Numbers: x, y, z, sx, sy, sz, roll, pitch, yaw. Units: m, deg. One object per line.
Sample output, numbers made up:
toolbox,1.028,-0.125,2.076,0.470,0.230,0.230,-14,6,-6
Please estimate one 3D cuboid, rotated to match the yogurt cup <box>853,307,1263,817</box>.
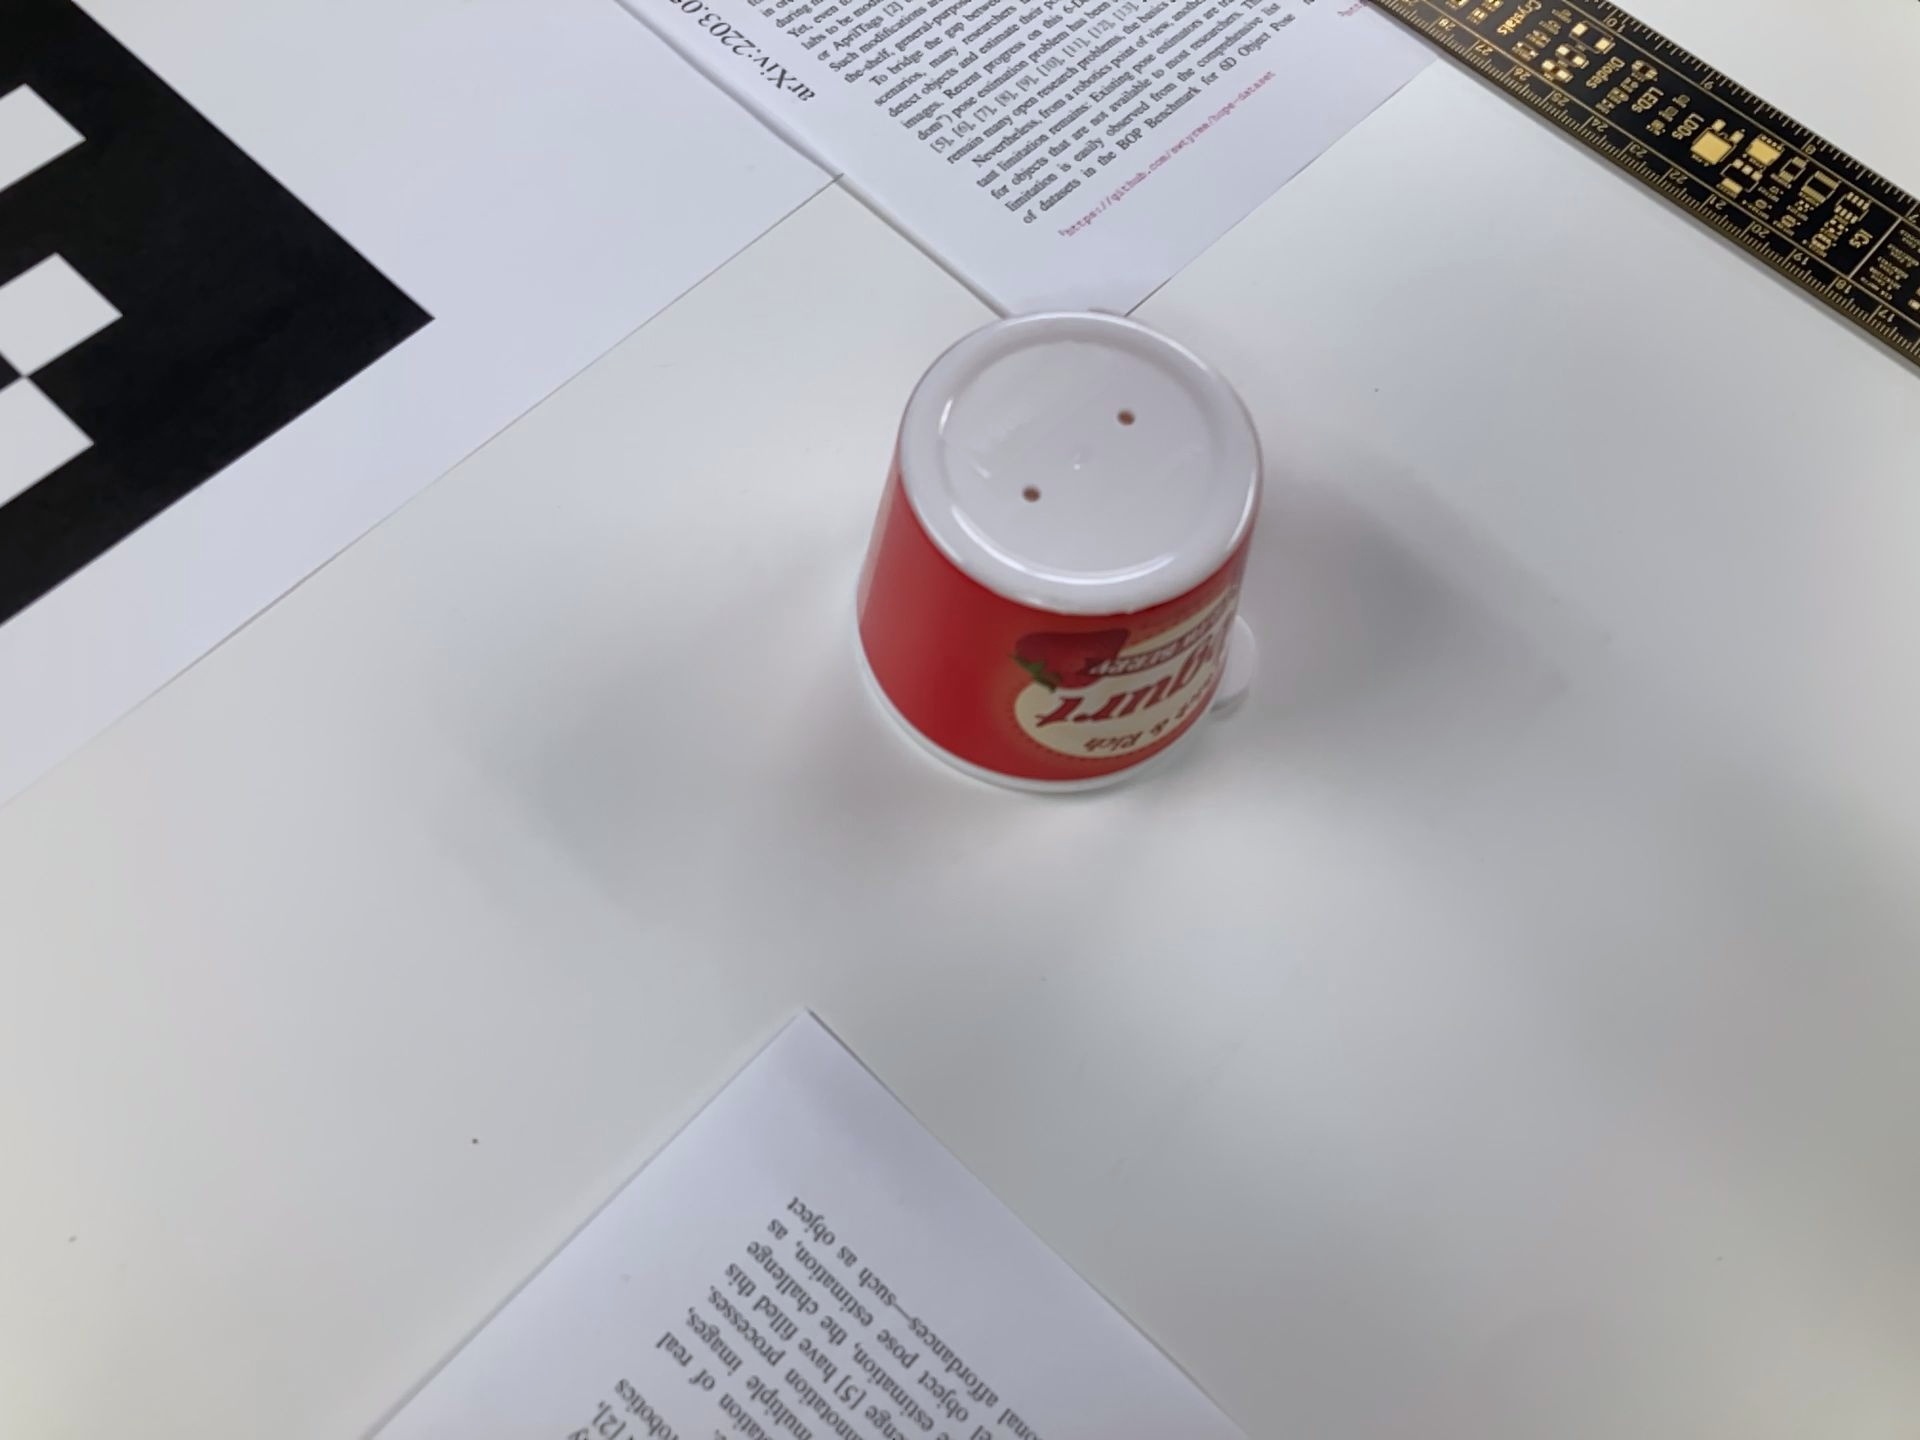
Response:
yogurt cup,0.016,-0.029,0.257,0.072,0.054,0.072,1,66,-3
